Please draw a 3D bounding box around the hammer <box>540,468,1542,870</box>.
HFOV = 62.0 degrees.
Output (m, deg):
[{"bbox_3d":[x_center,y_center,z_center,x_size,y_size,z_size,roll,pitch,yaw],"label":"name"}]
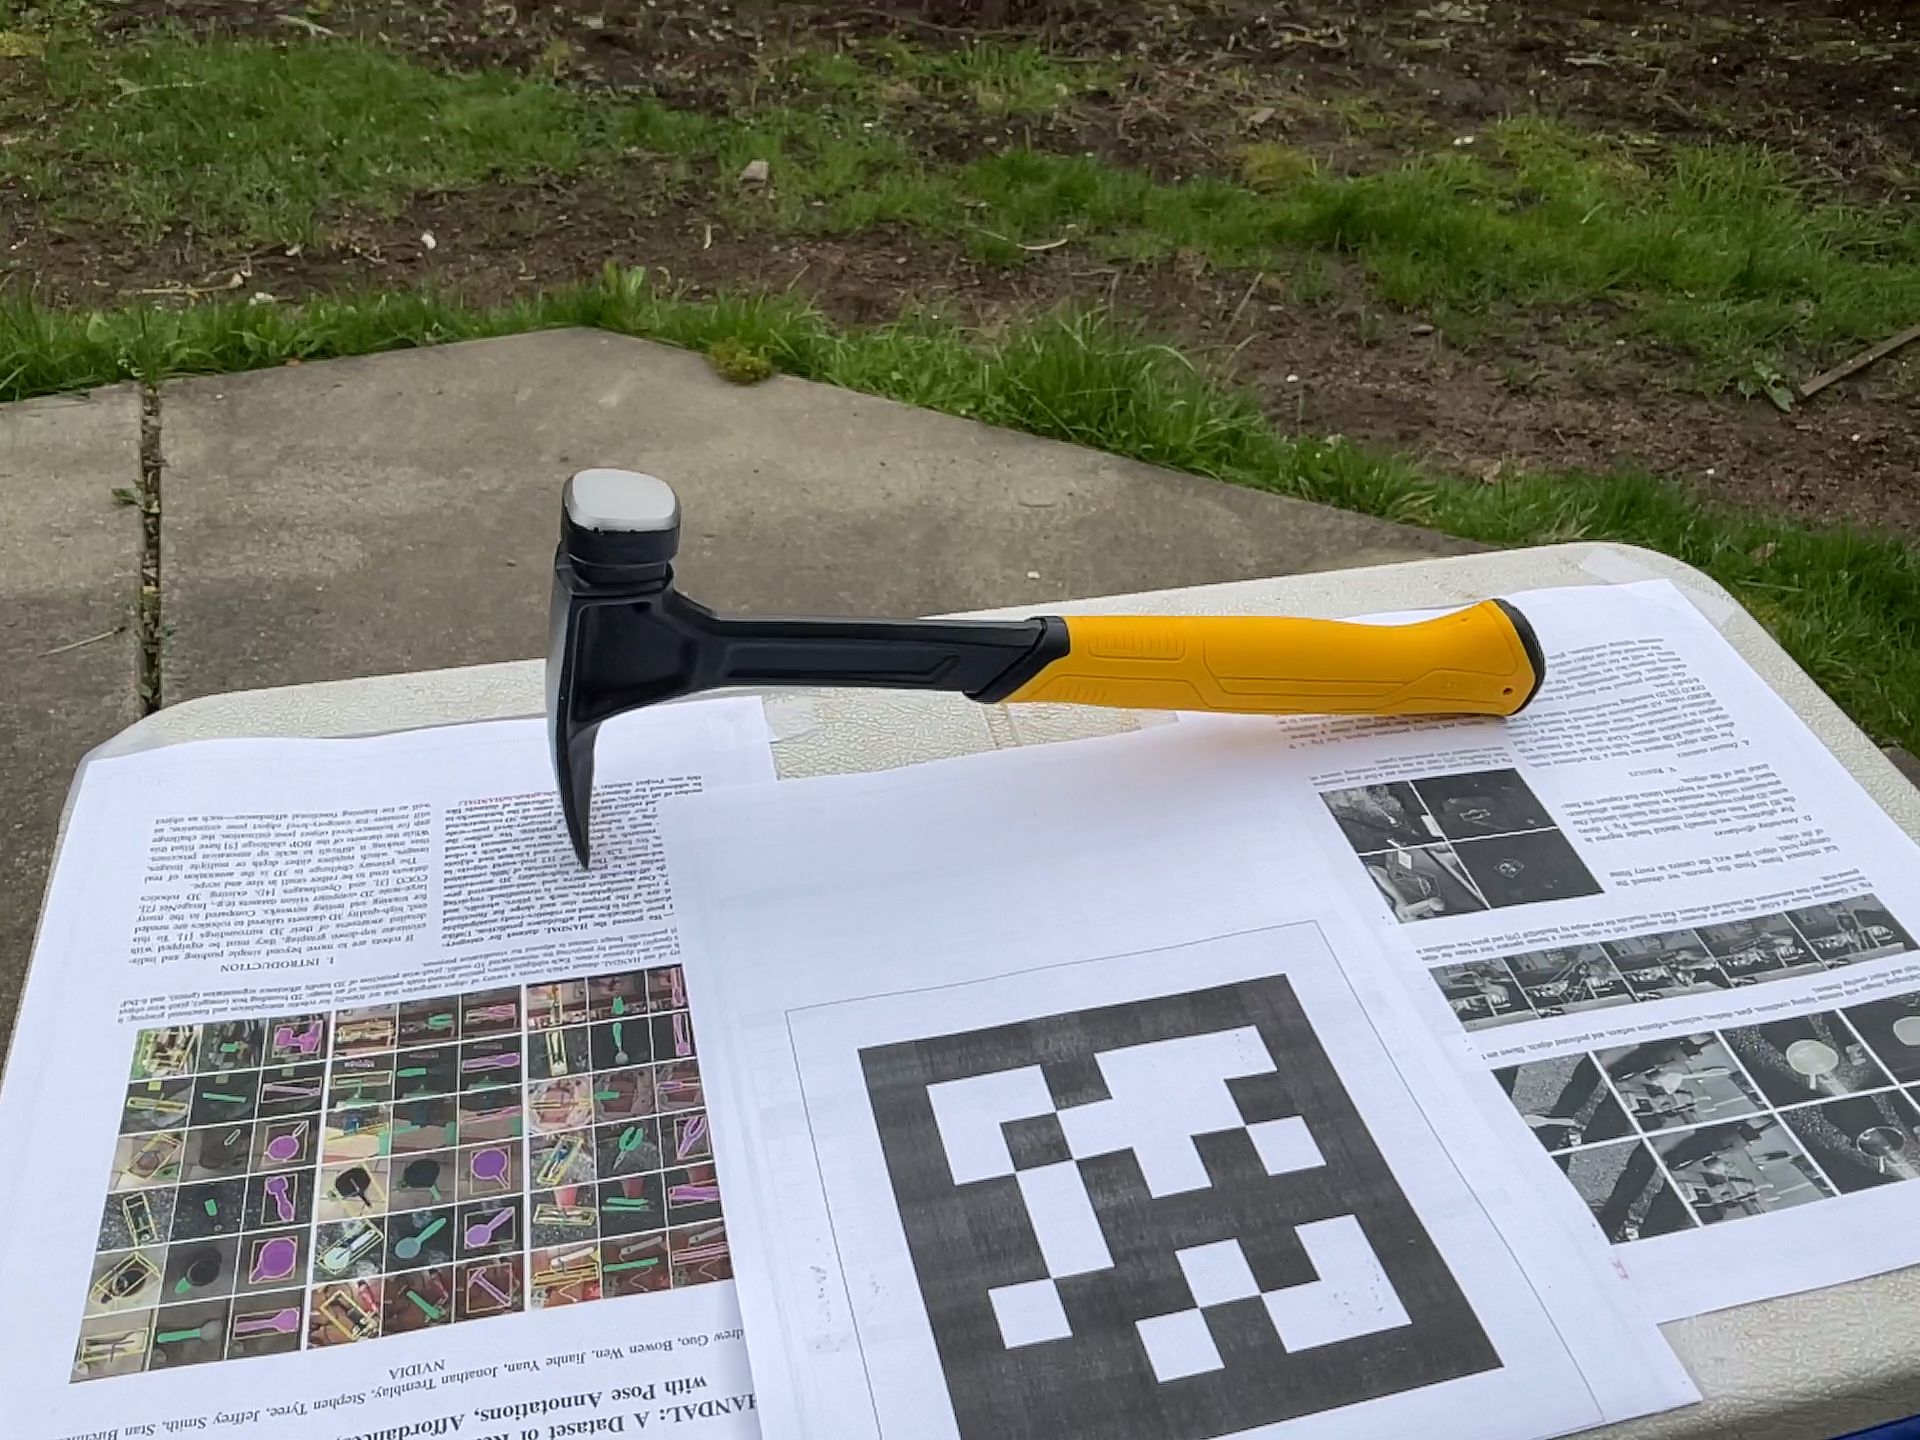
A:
[{"bbox_3d":[0.038,-0.013,0.517,0.336,0.127,0.034,0,40,-19],"label":"hammer"}]
